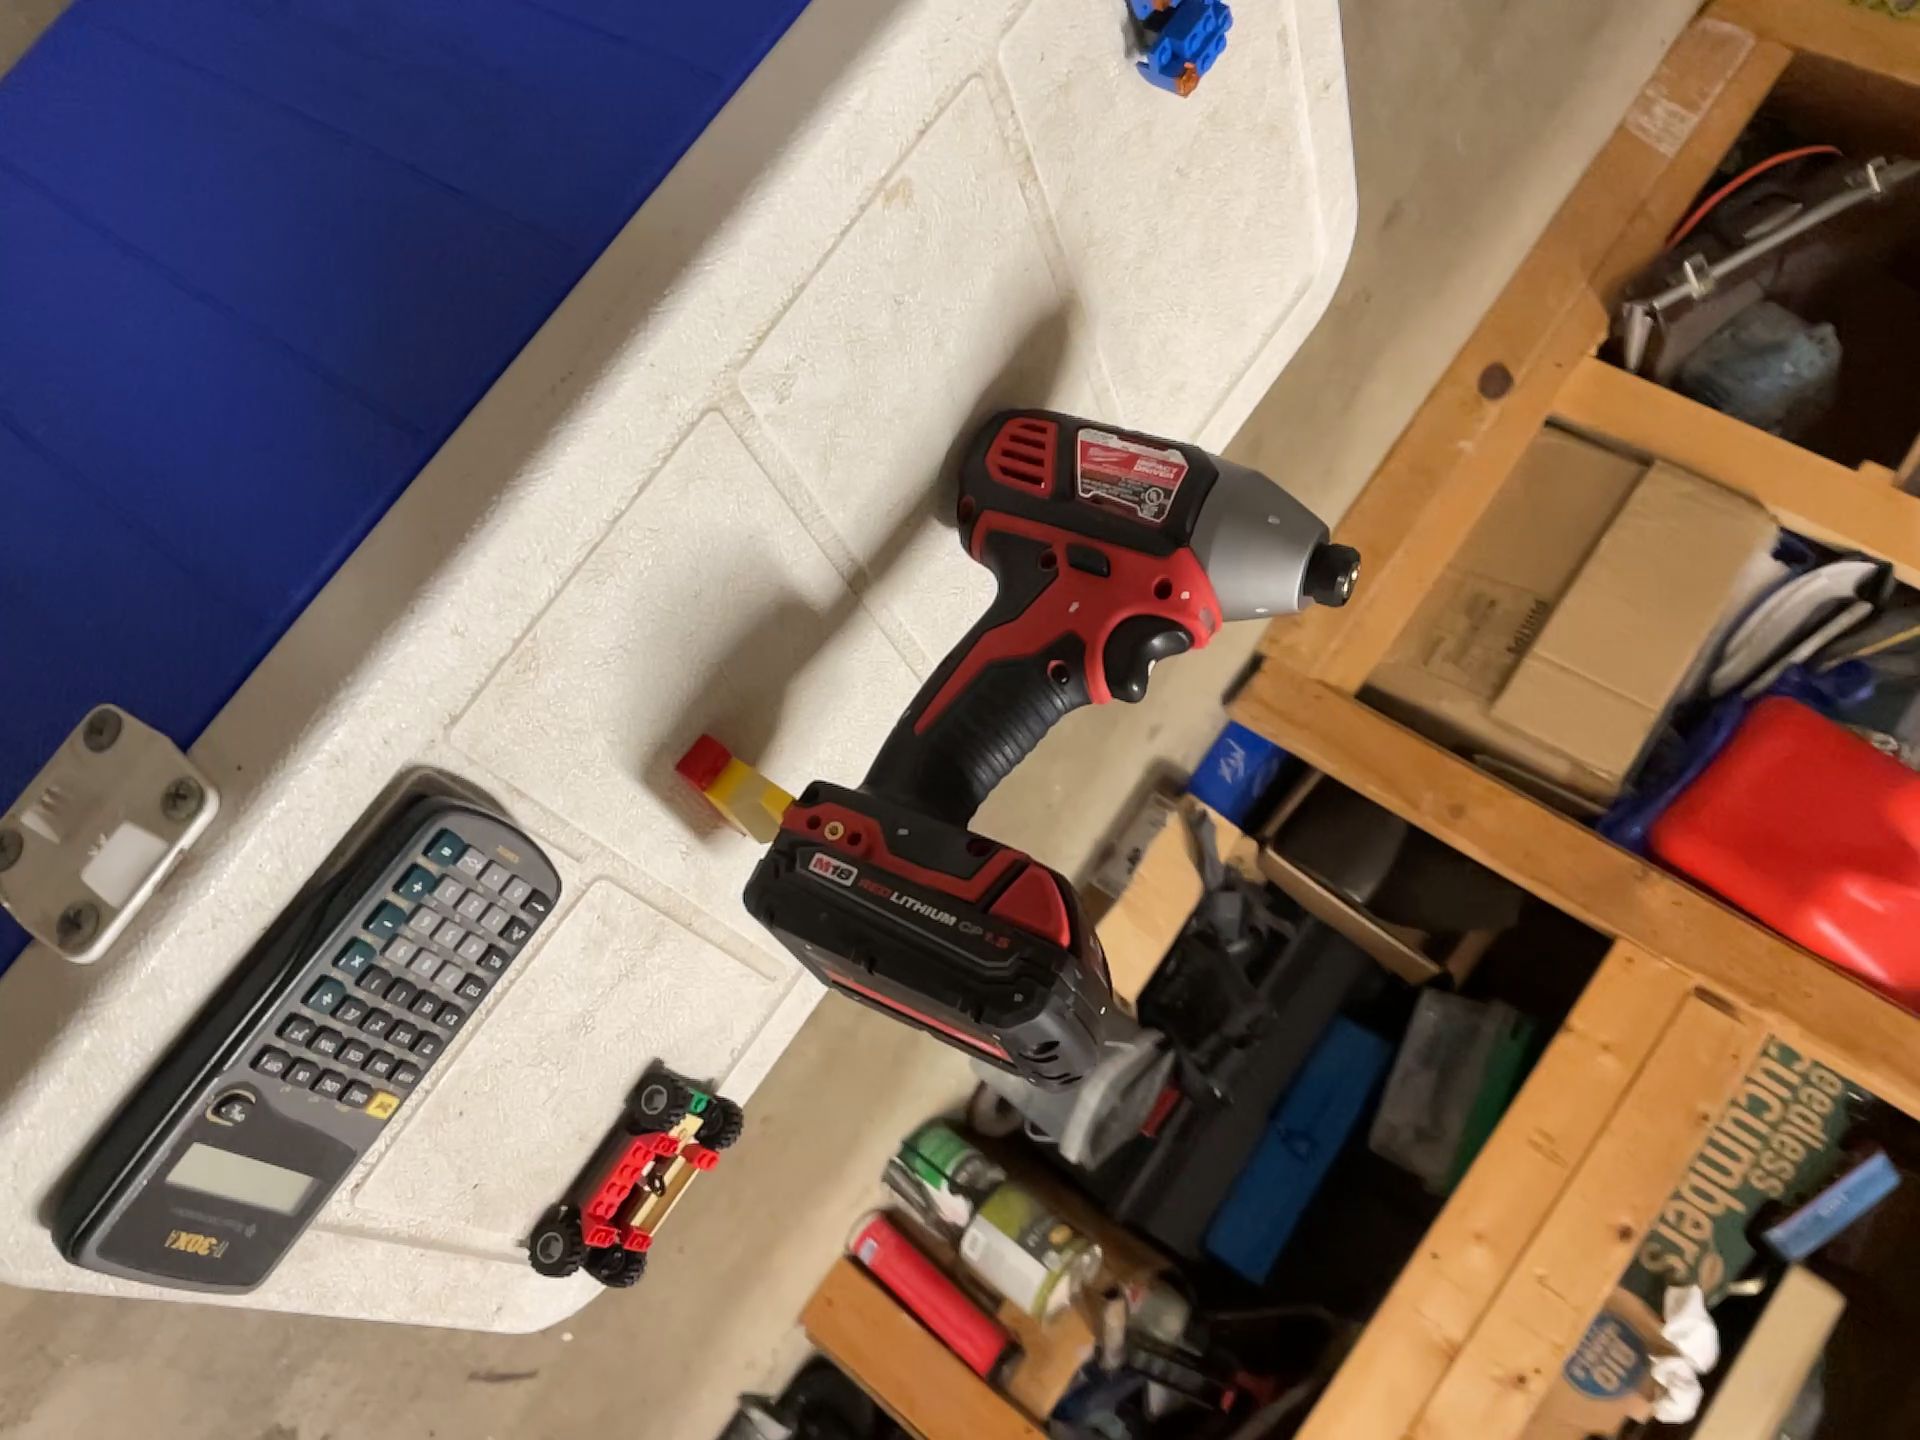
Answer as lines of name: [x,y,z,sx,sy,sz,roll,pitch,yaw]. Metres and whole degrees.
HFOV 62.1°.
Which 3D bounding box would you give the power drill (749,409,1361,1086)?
power drill: [0.036,-0.001,0.538,0.220,0.143,0.078,-64,156,-19]
